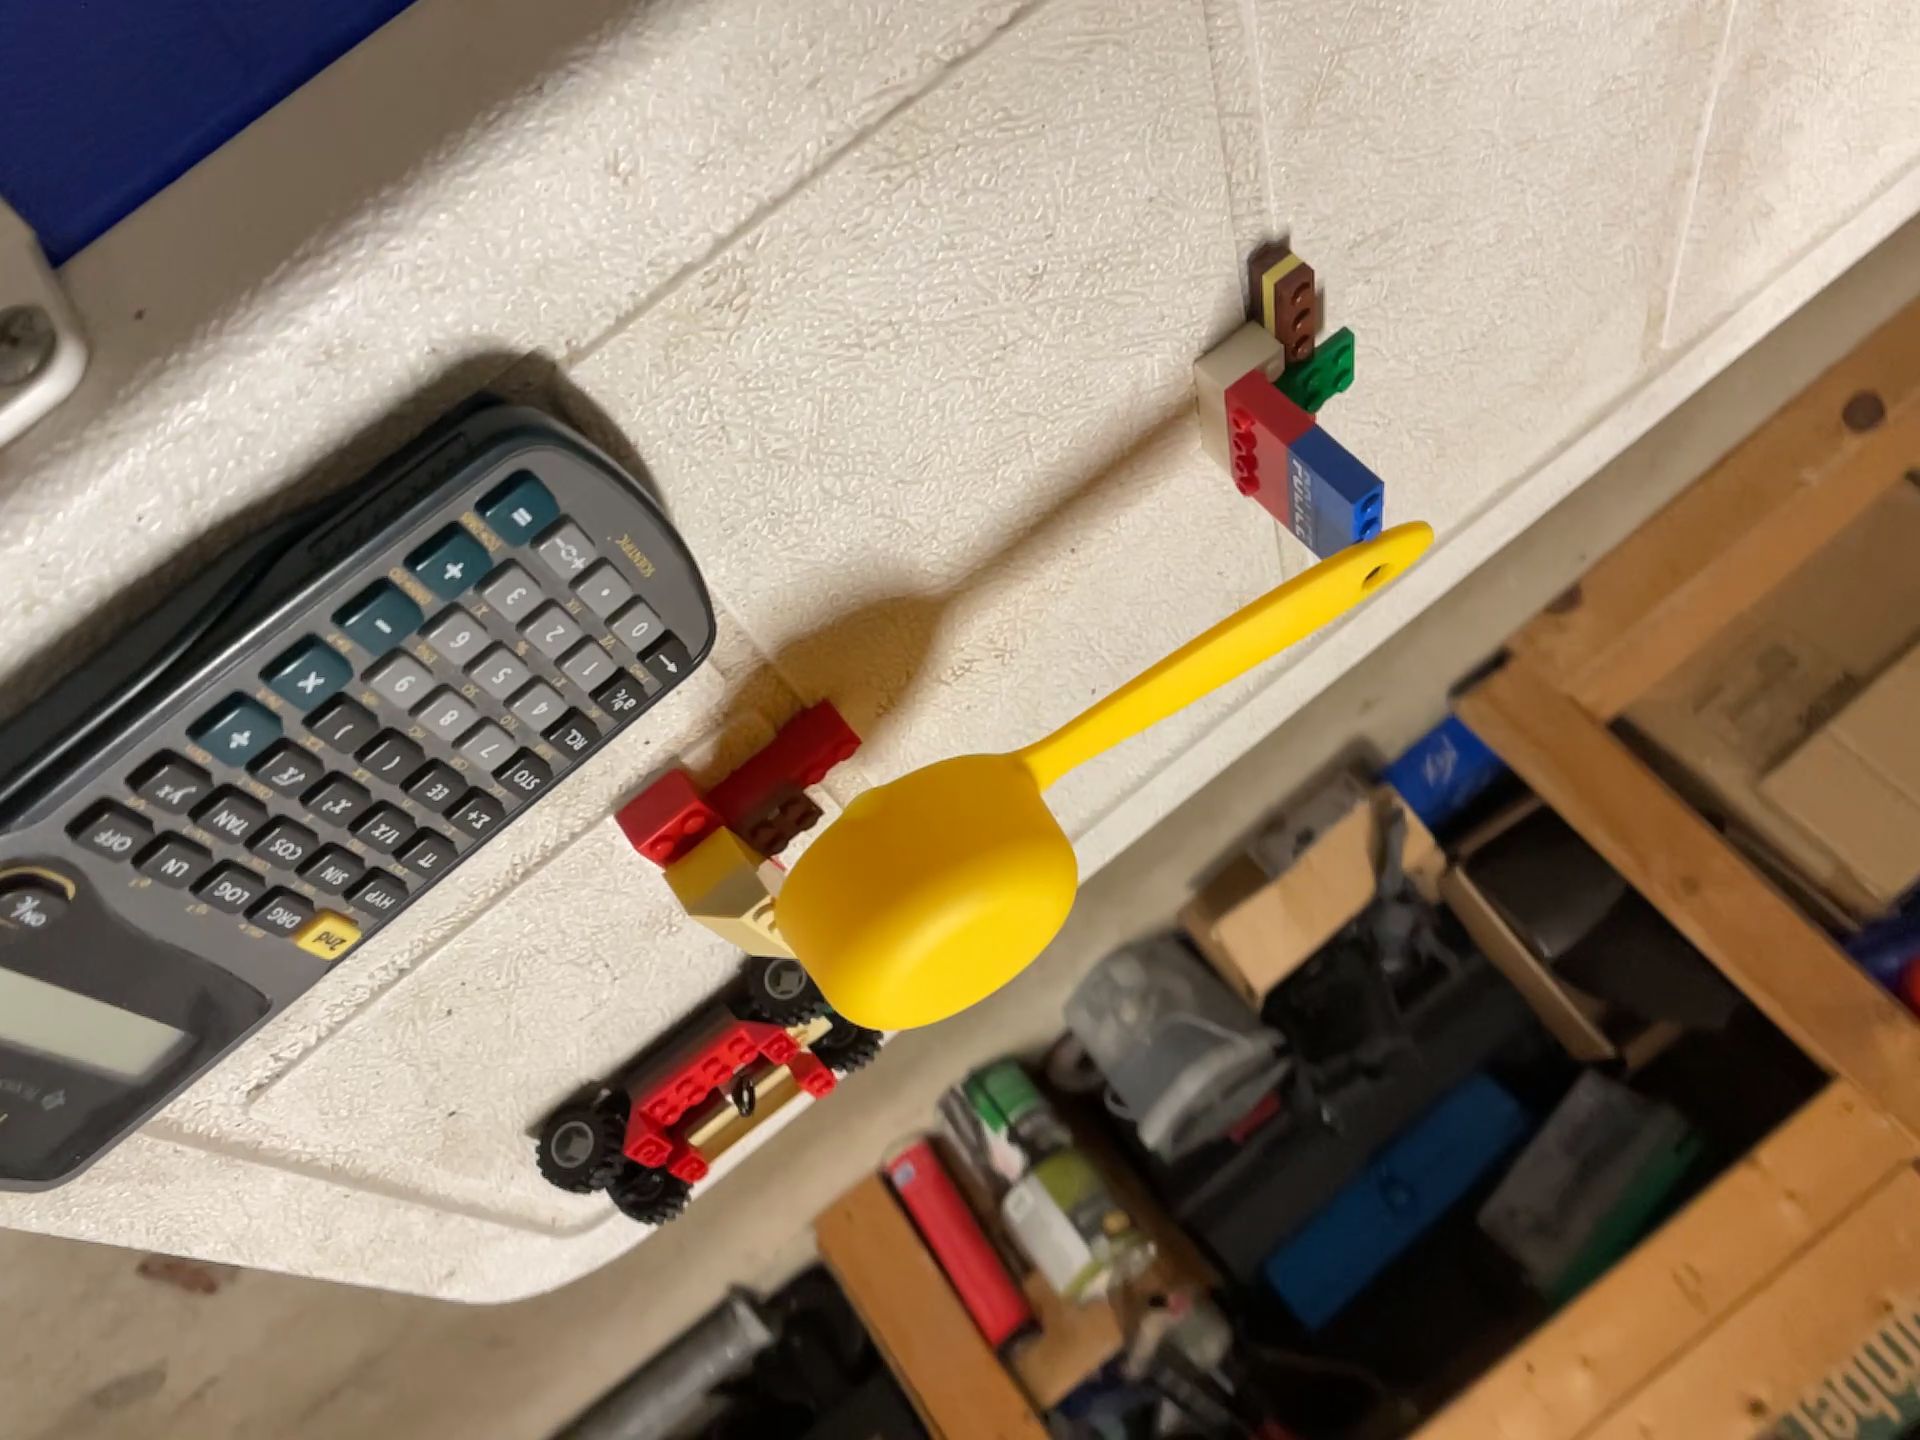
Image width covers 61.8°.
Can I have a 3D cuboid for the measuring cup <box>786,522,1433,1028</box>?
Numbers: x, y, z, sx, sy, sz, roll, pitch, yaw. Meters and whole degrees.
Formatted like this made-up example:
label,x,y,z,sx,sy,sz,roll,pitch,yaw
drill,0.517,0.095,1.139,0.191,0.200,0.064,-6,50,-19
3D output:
label,x,y,z,sx,sy,sz,roll,pitch,yaw
measuring cup,0.037,0.011,0.325,0.156,0.029,0.062,-33,152,-2
